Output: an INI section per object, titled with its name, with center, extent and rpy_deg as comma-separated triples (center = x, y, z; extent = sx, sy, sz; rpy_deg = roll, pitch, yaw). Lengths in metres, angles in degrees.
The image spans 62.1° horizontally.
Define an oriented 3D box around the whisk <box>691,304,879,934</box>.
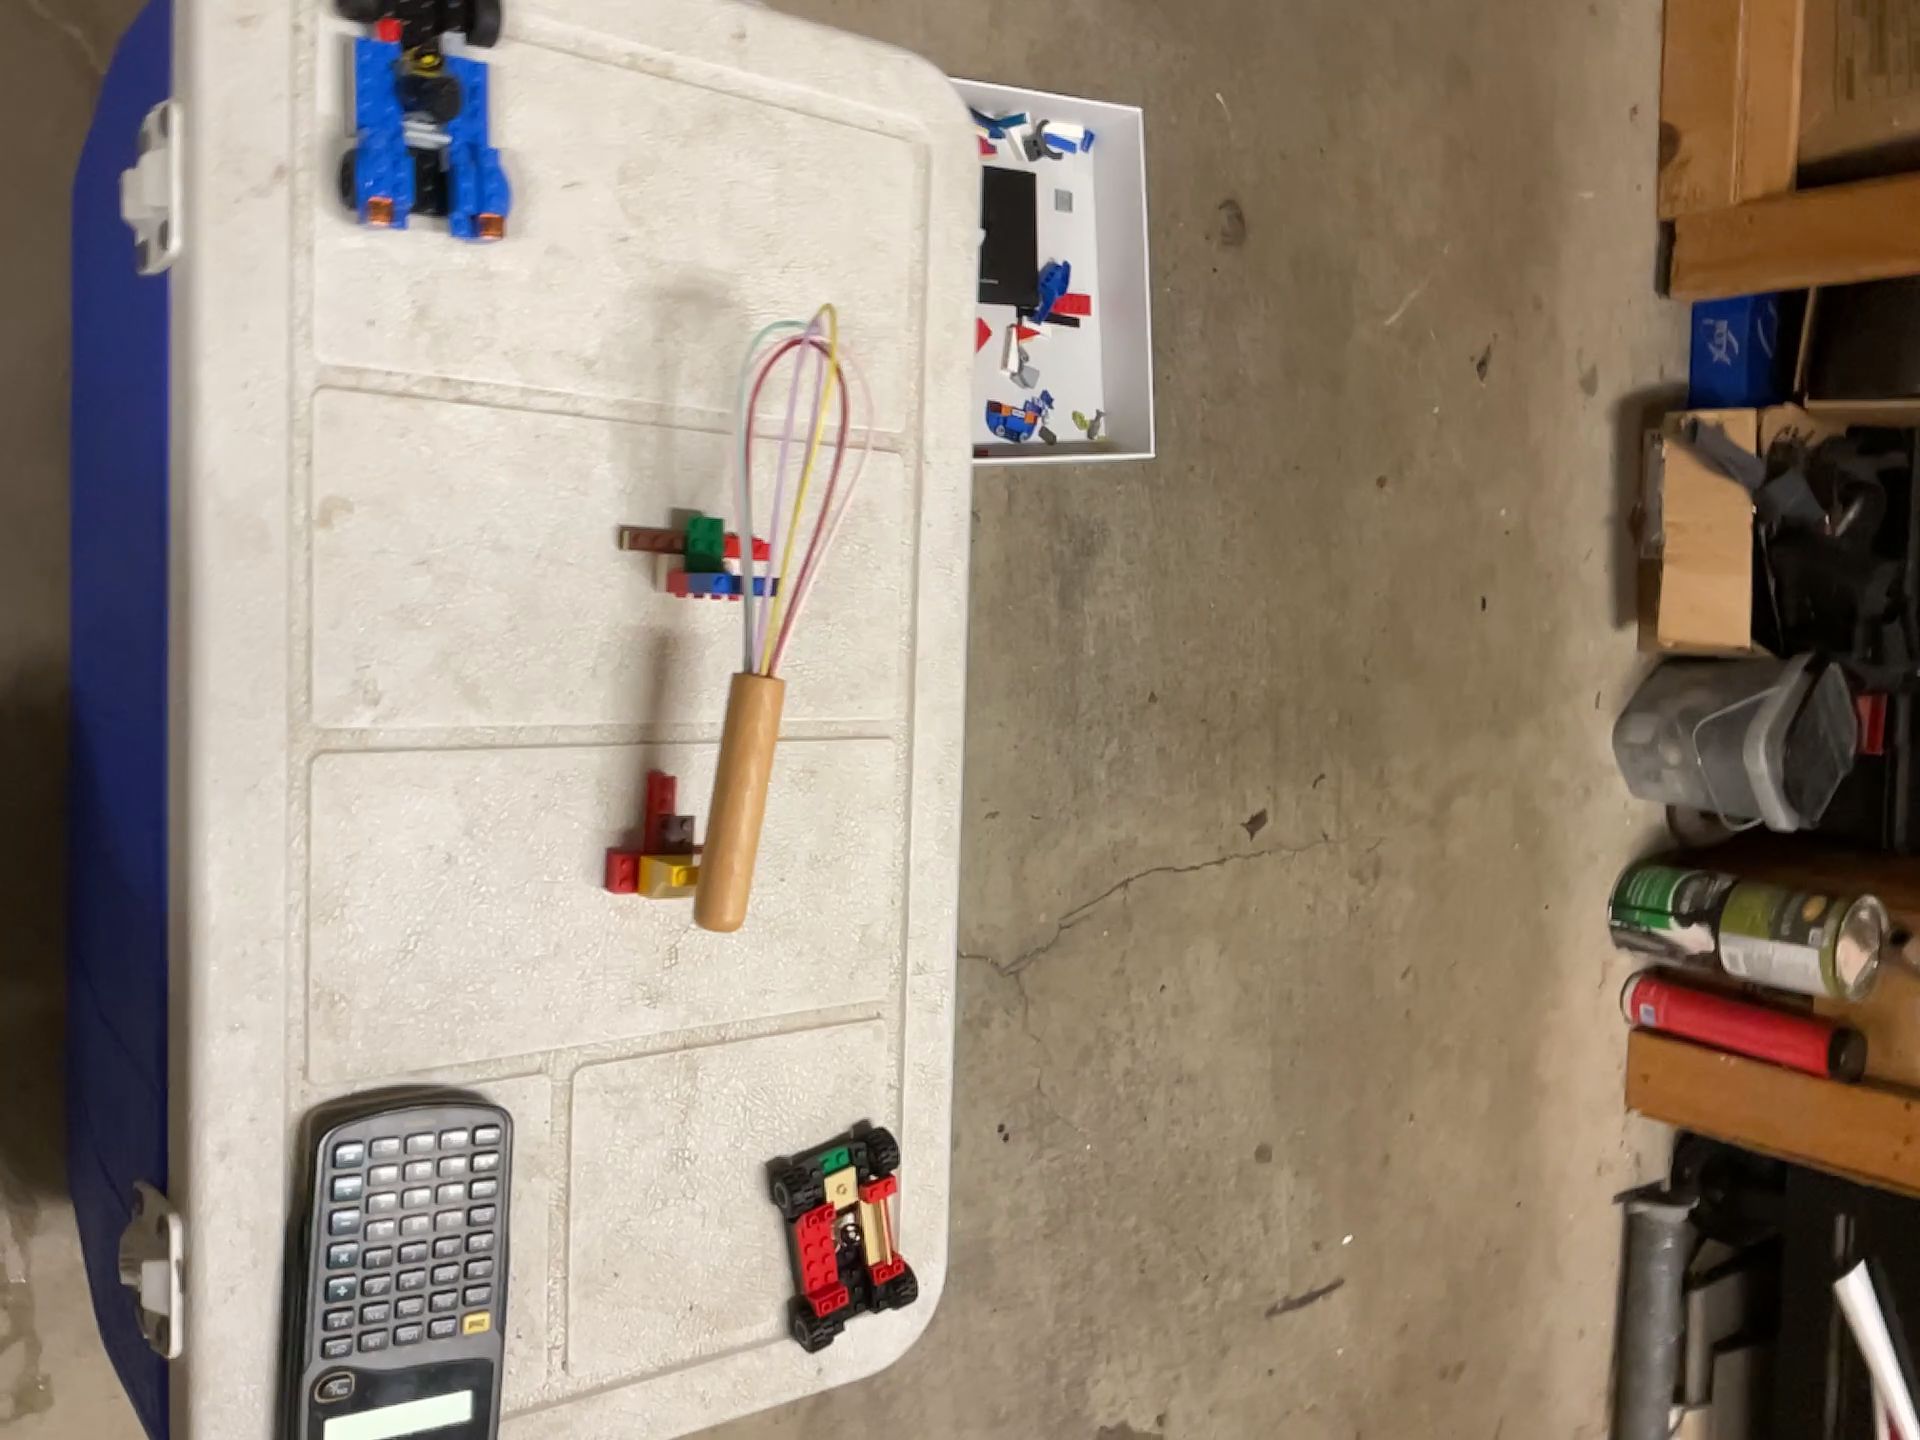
[whisk]
center = -0.074, -0.039, 0.611
extent = 0.051, 0.047, 0.245
rpy_deg = 8, 92, -51
